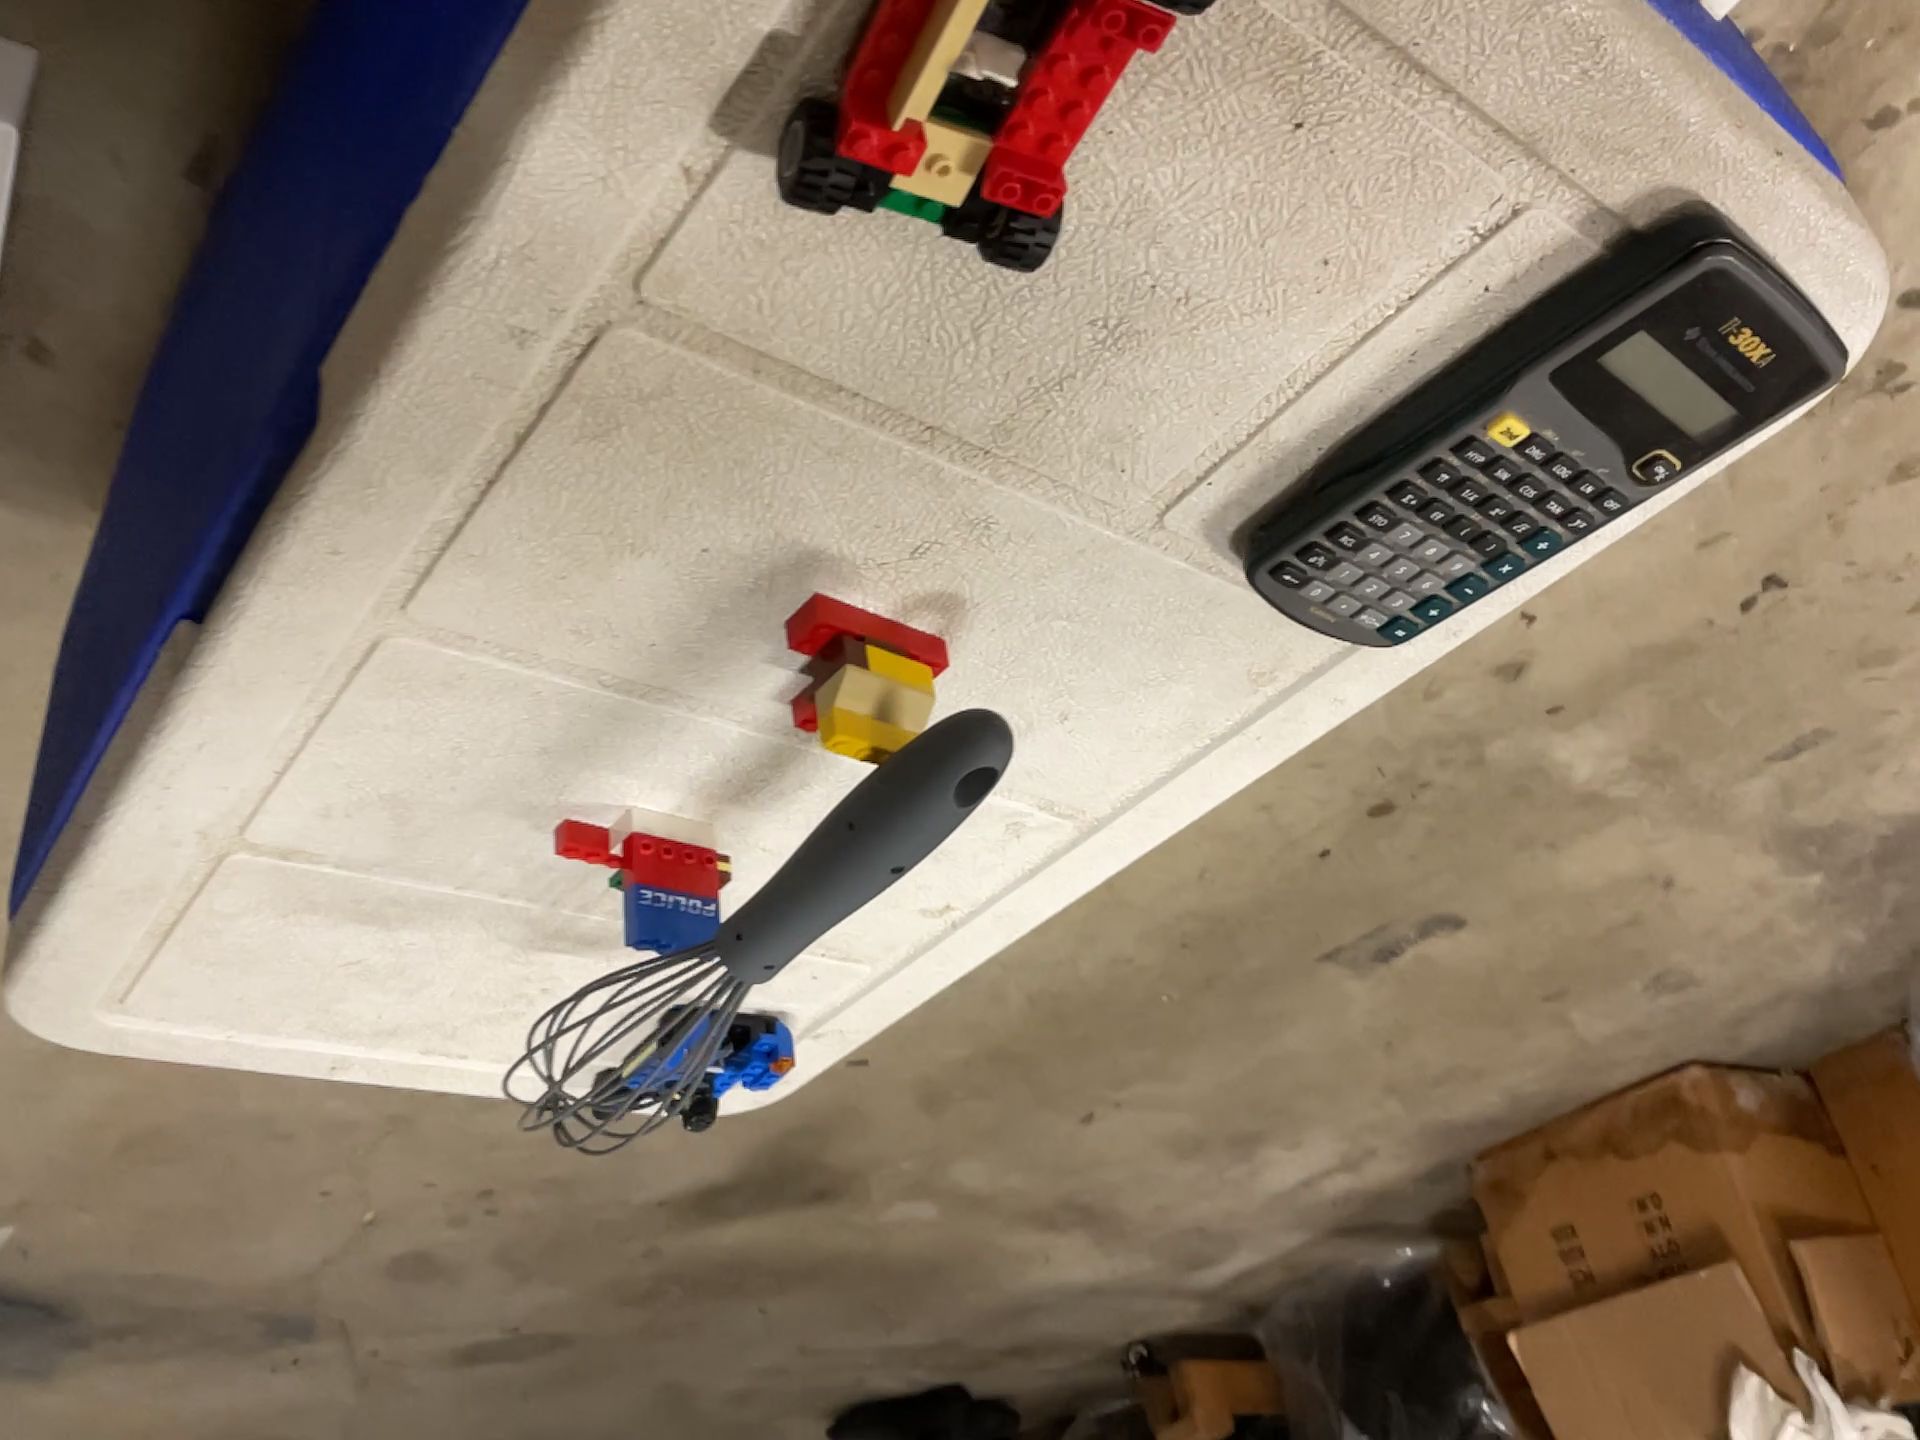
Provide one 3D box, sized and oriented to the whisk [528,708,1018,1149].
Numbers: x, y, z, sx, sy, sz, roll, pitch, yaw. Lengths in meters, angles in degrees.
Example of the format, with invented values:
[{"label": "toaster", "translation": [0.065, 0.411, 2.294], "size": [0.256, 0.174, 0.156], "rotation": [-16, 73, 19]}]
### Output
[{"label": "whisk", "translation": [-0.063, 0.068, 0.487], "size": [0.055, 0.055, 0.239], "rotation": [18, 133, -39]}]
